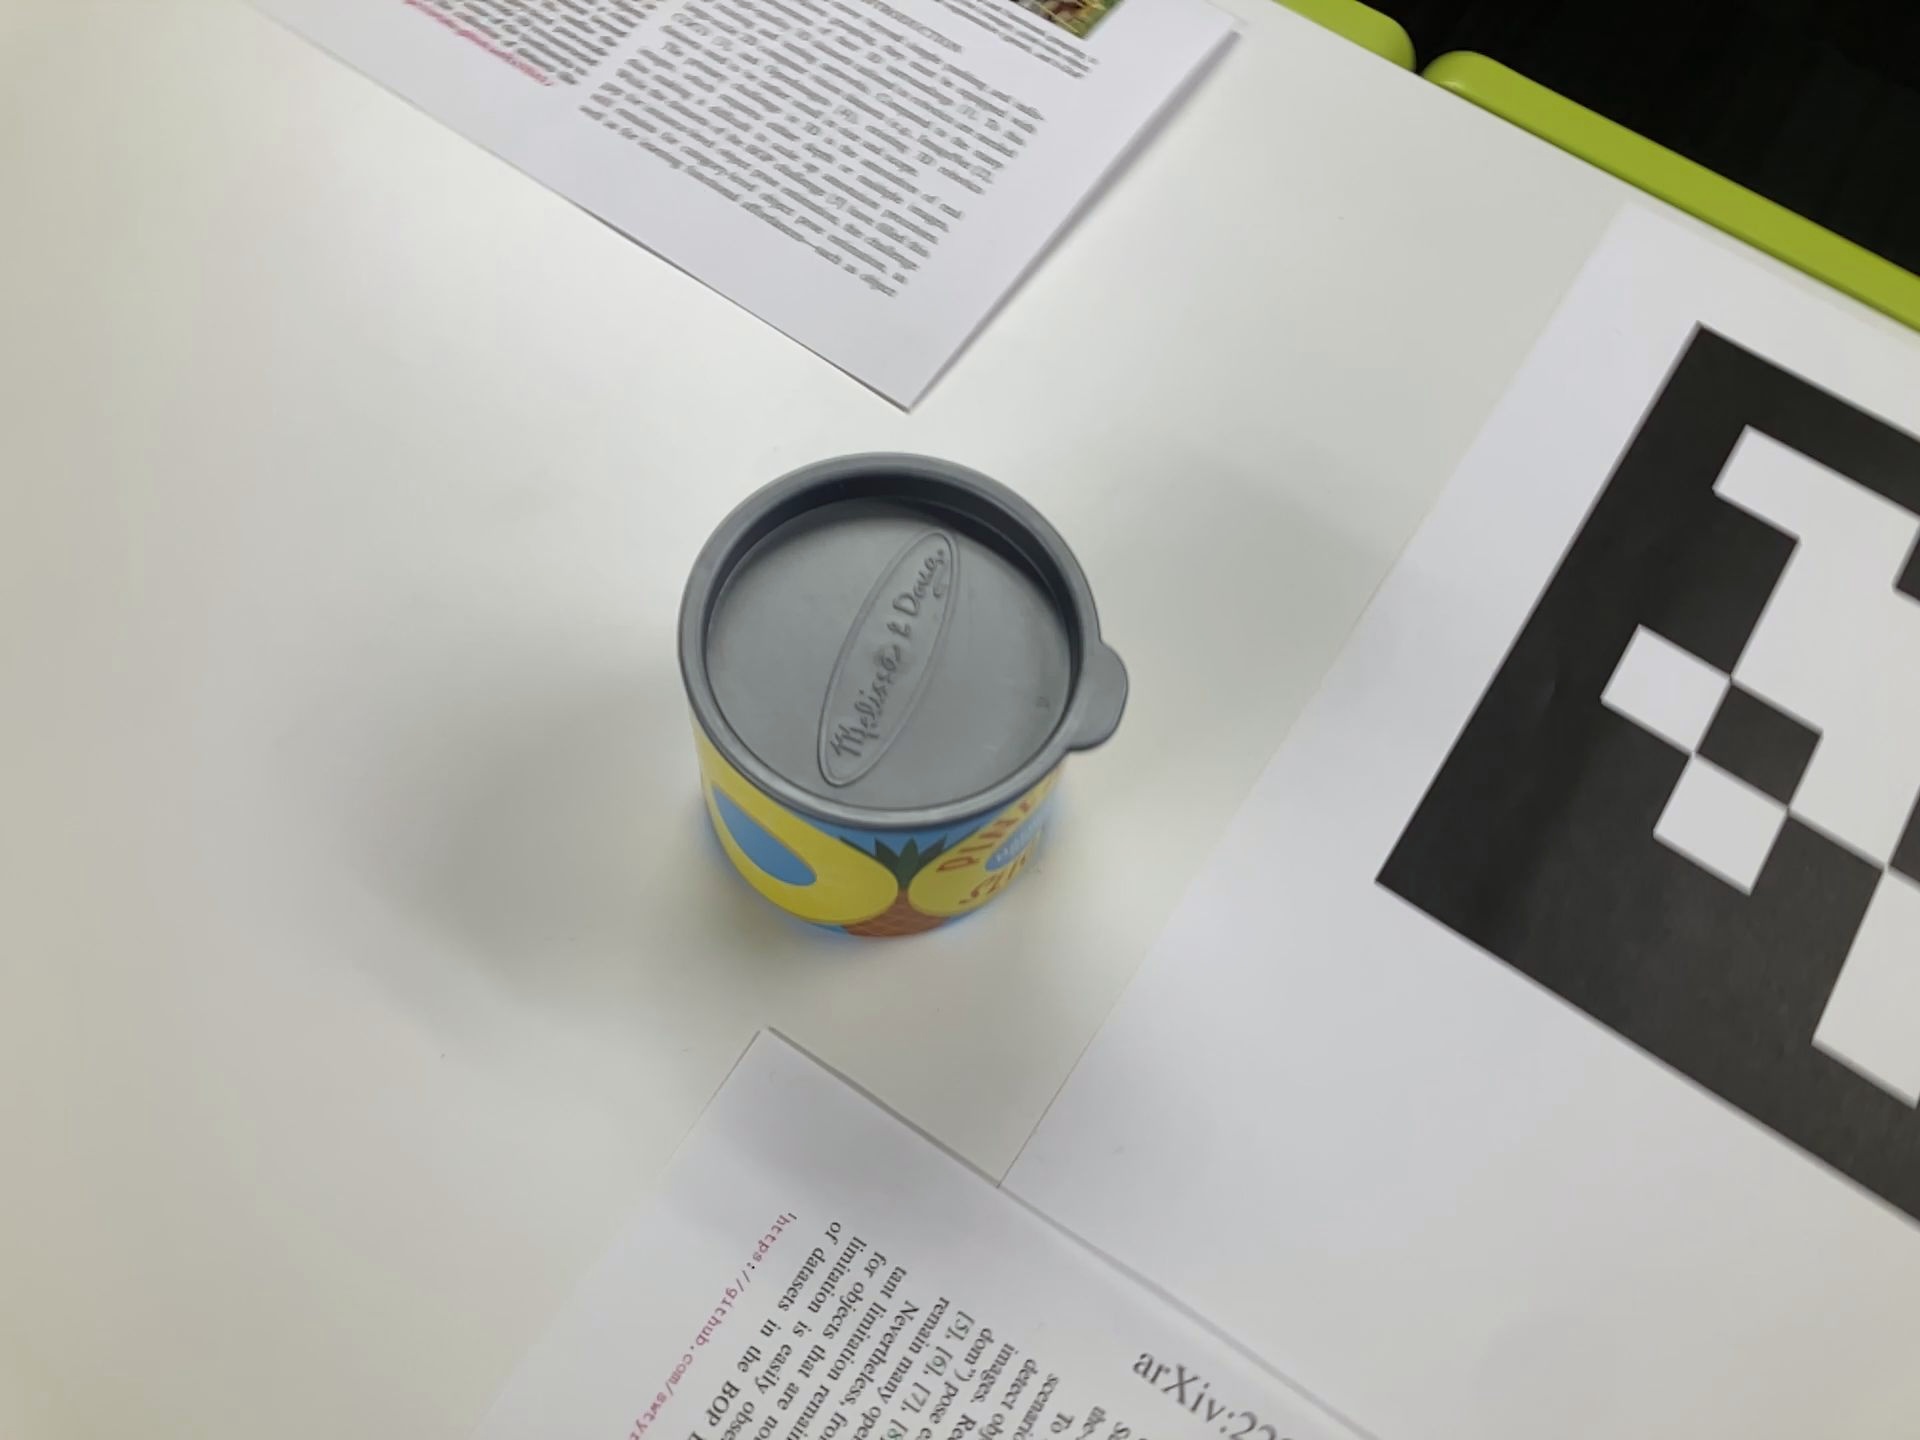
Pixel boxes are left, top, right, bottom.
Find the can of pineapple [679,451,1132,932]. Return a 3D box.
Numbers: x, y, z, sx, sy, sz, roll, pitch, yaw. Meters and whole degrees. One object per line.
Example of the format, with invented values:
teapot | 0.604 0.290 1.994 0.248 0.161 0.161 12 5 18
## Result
can of pineapple | -0.011 -0.002 0.272 0.071 0.058 0.071 2 66 -4
